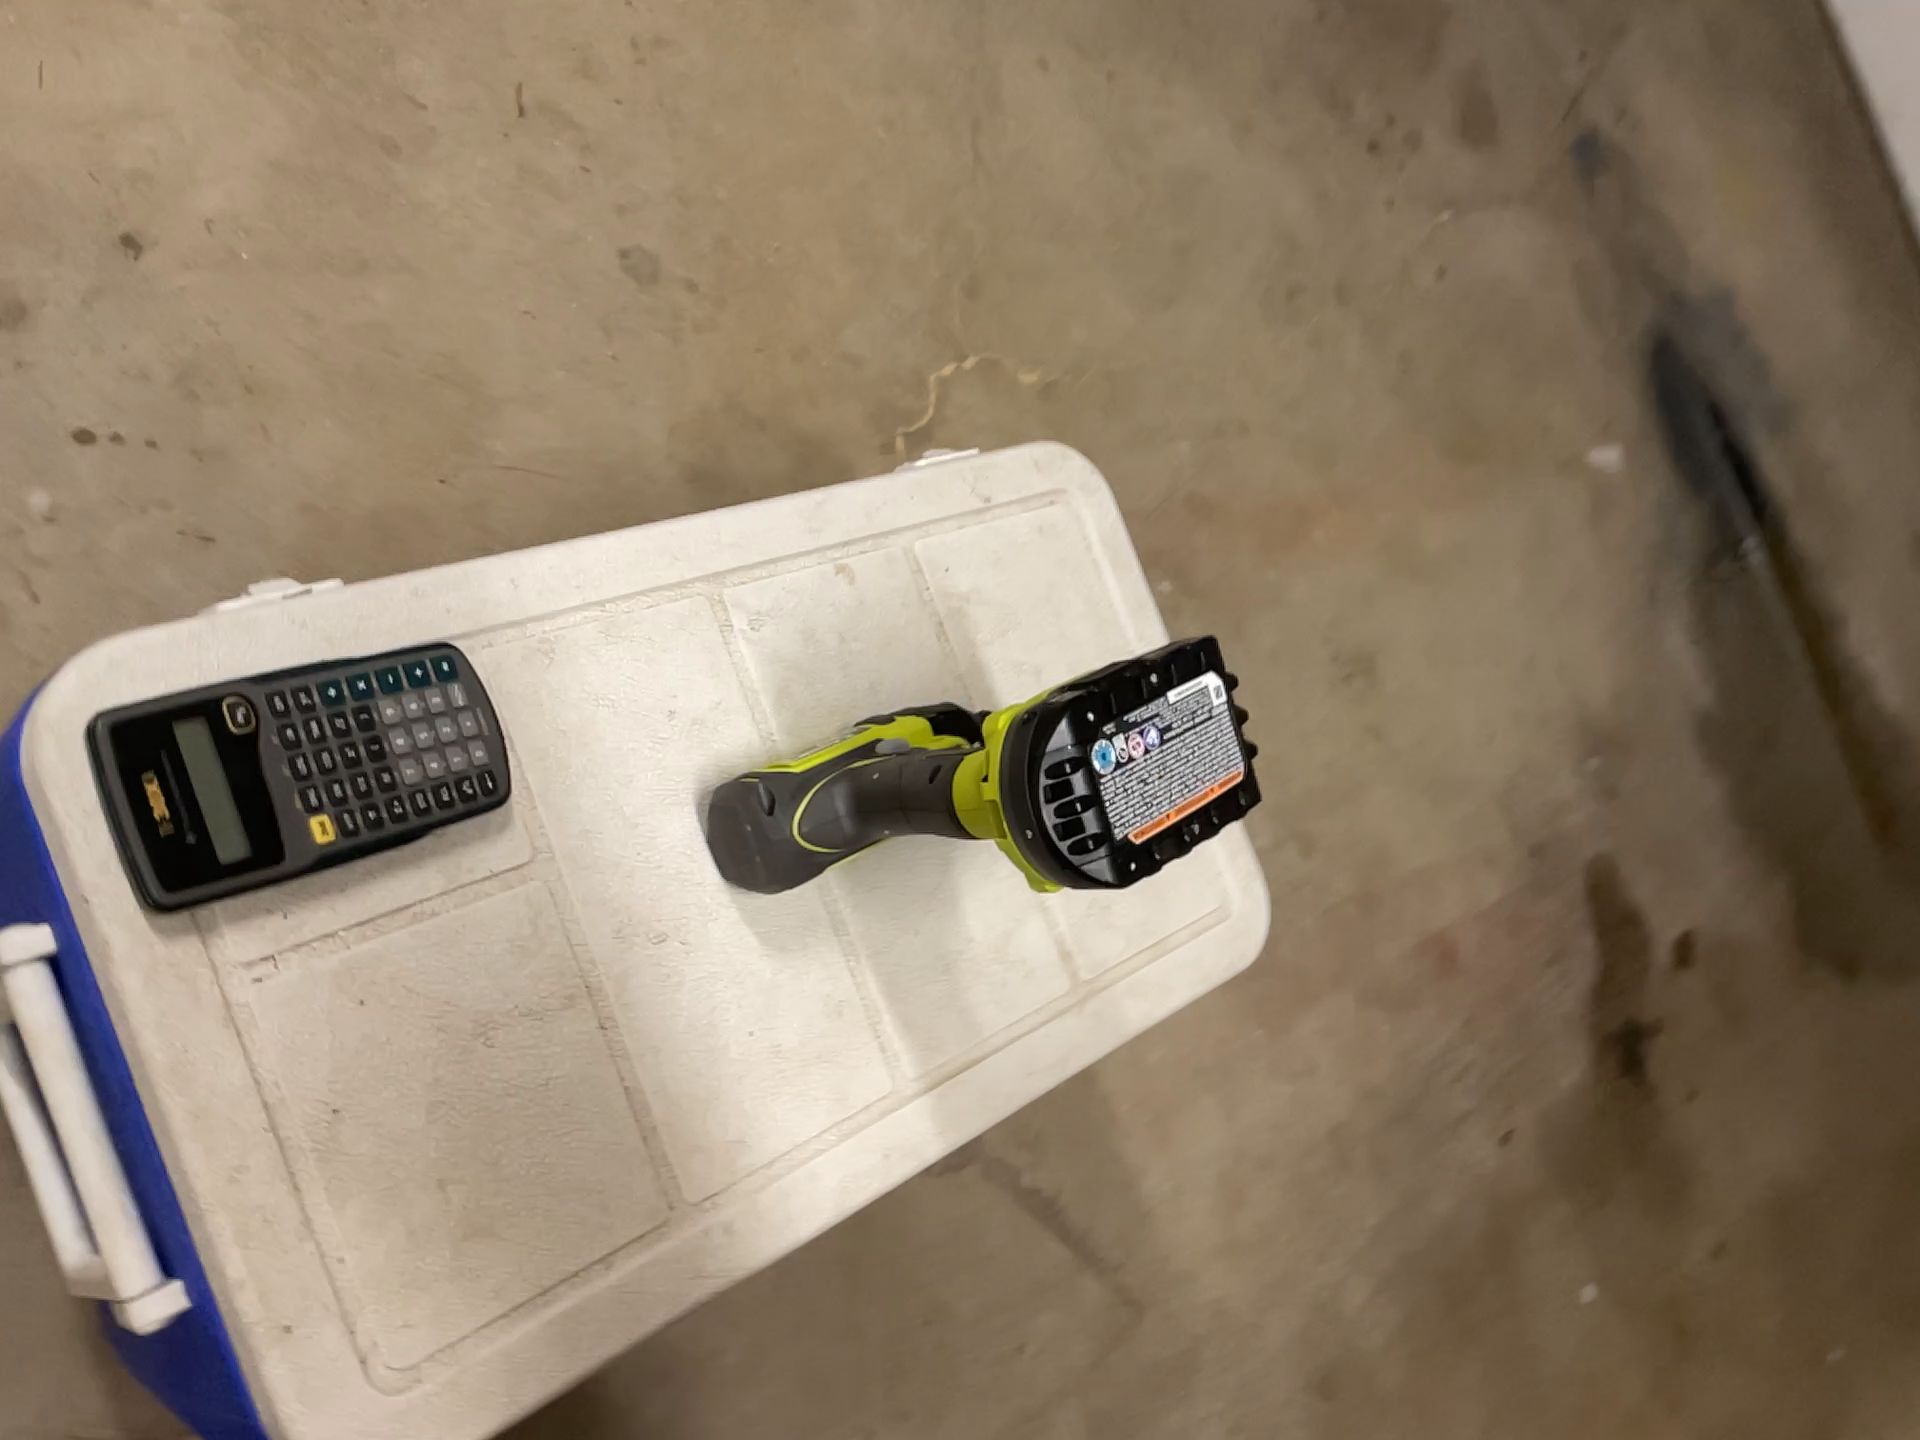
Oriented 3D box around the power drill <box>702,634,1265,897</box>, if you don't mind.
[{"bbox_3d":[0.014,0.021,0.708,0.171,0.223,0.080,-23,101,-42],"label":"power drill"}]
